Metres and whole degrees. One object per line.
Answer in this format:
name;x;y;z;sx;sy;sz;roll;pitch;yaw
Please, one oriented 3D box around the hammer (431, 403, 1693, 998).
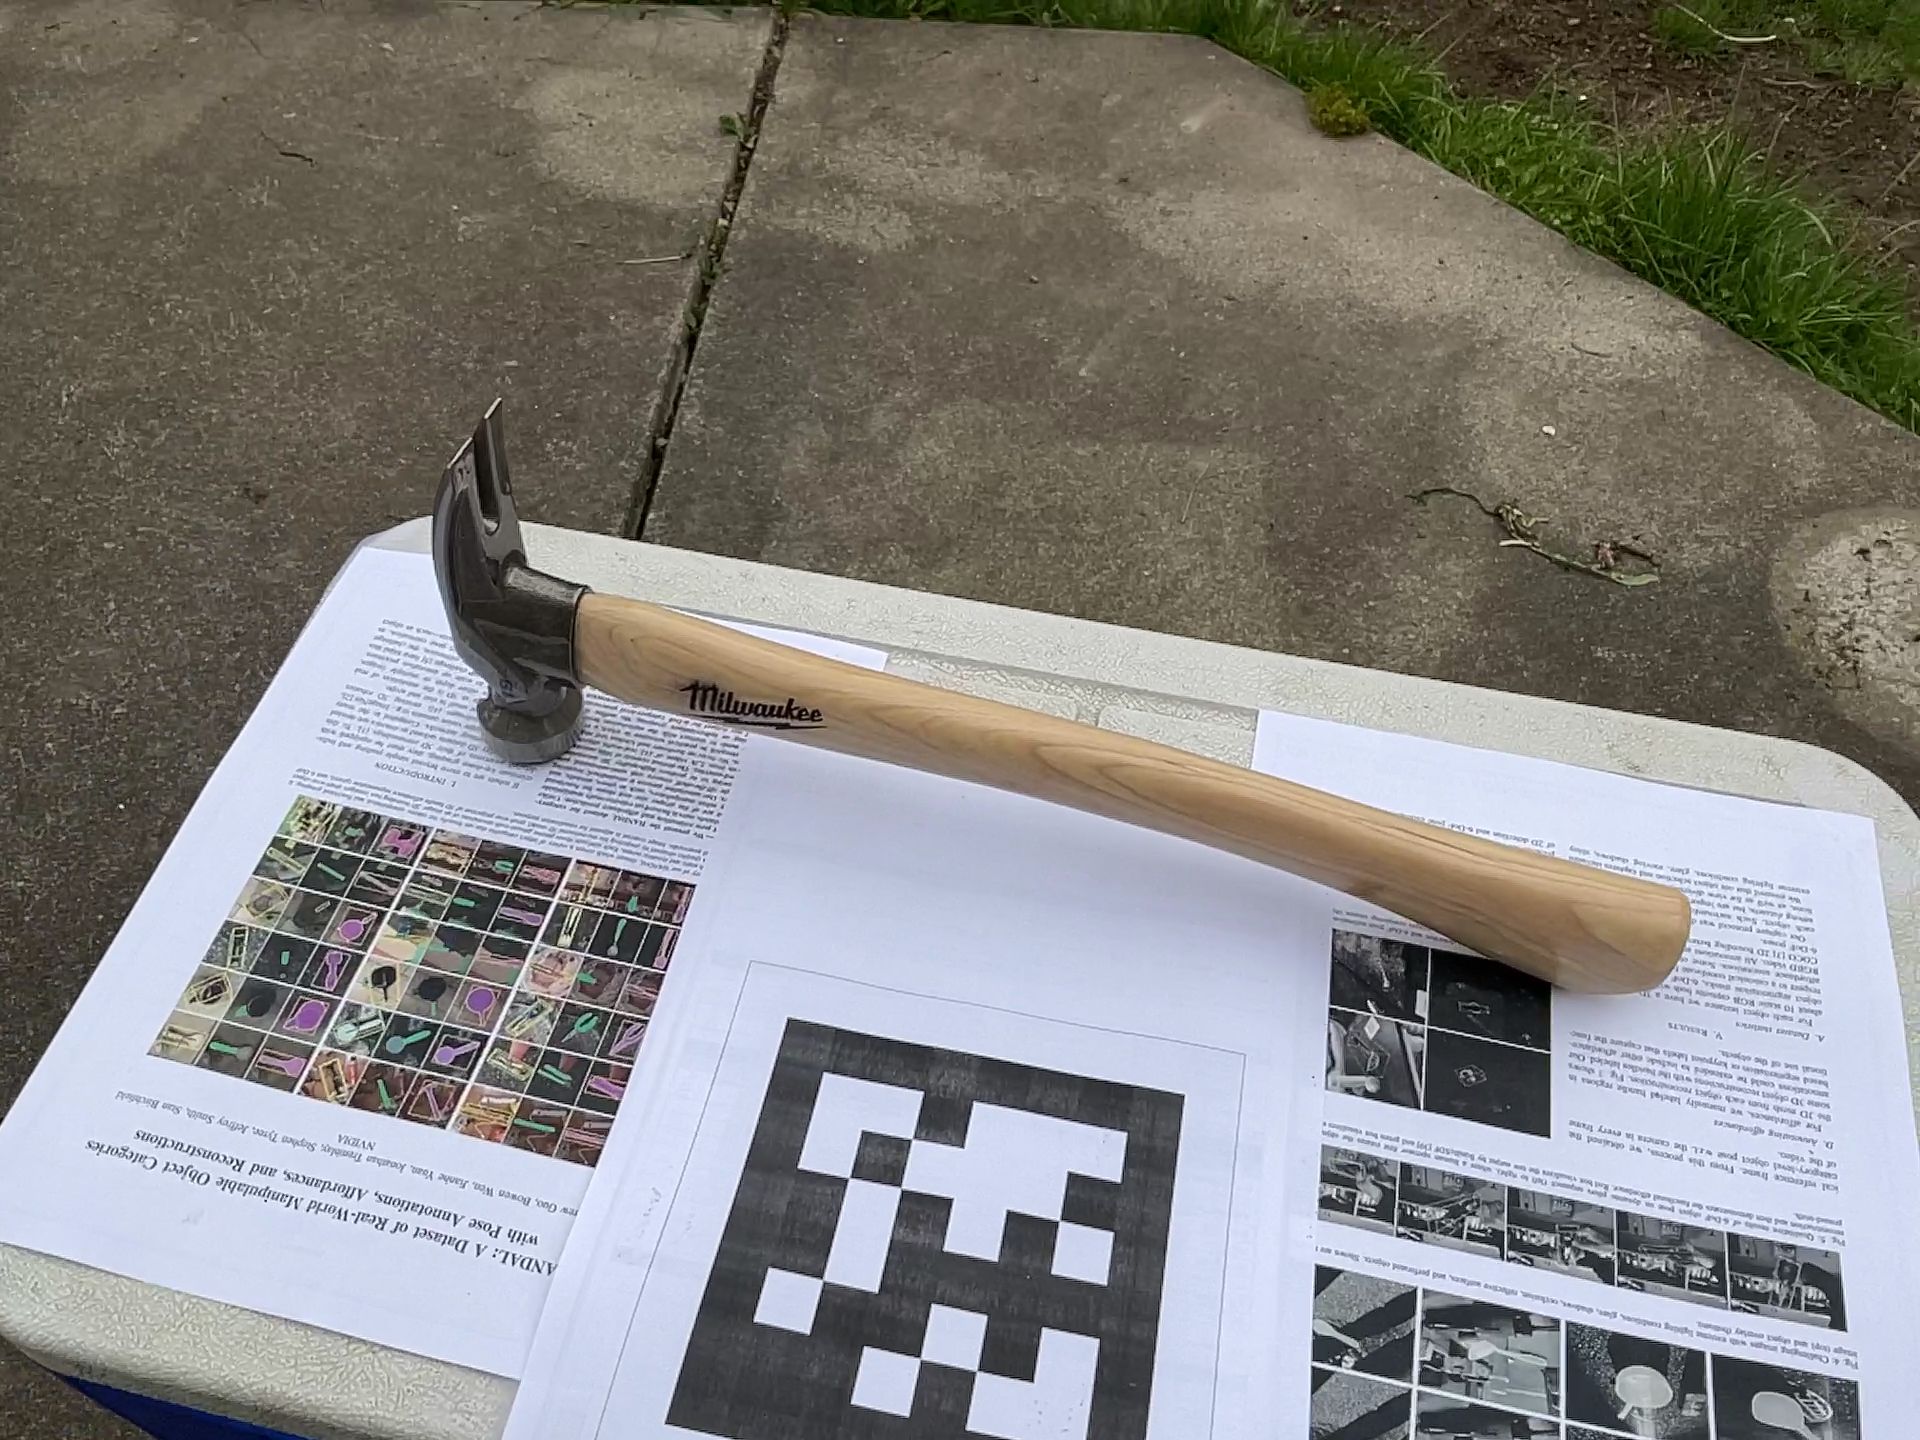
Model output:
hammer;0.029;0.009;0.515;0.410;0.146;0.038;15;53;5
